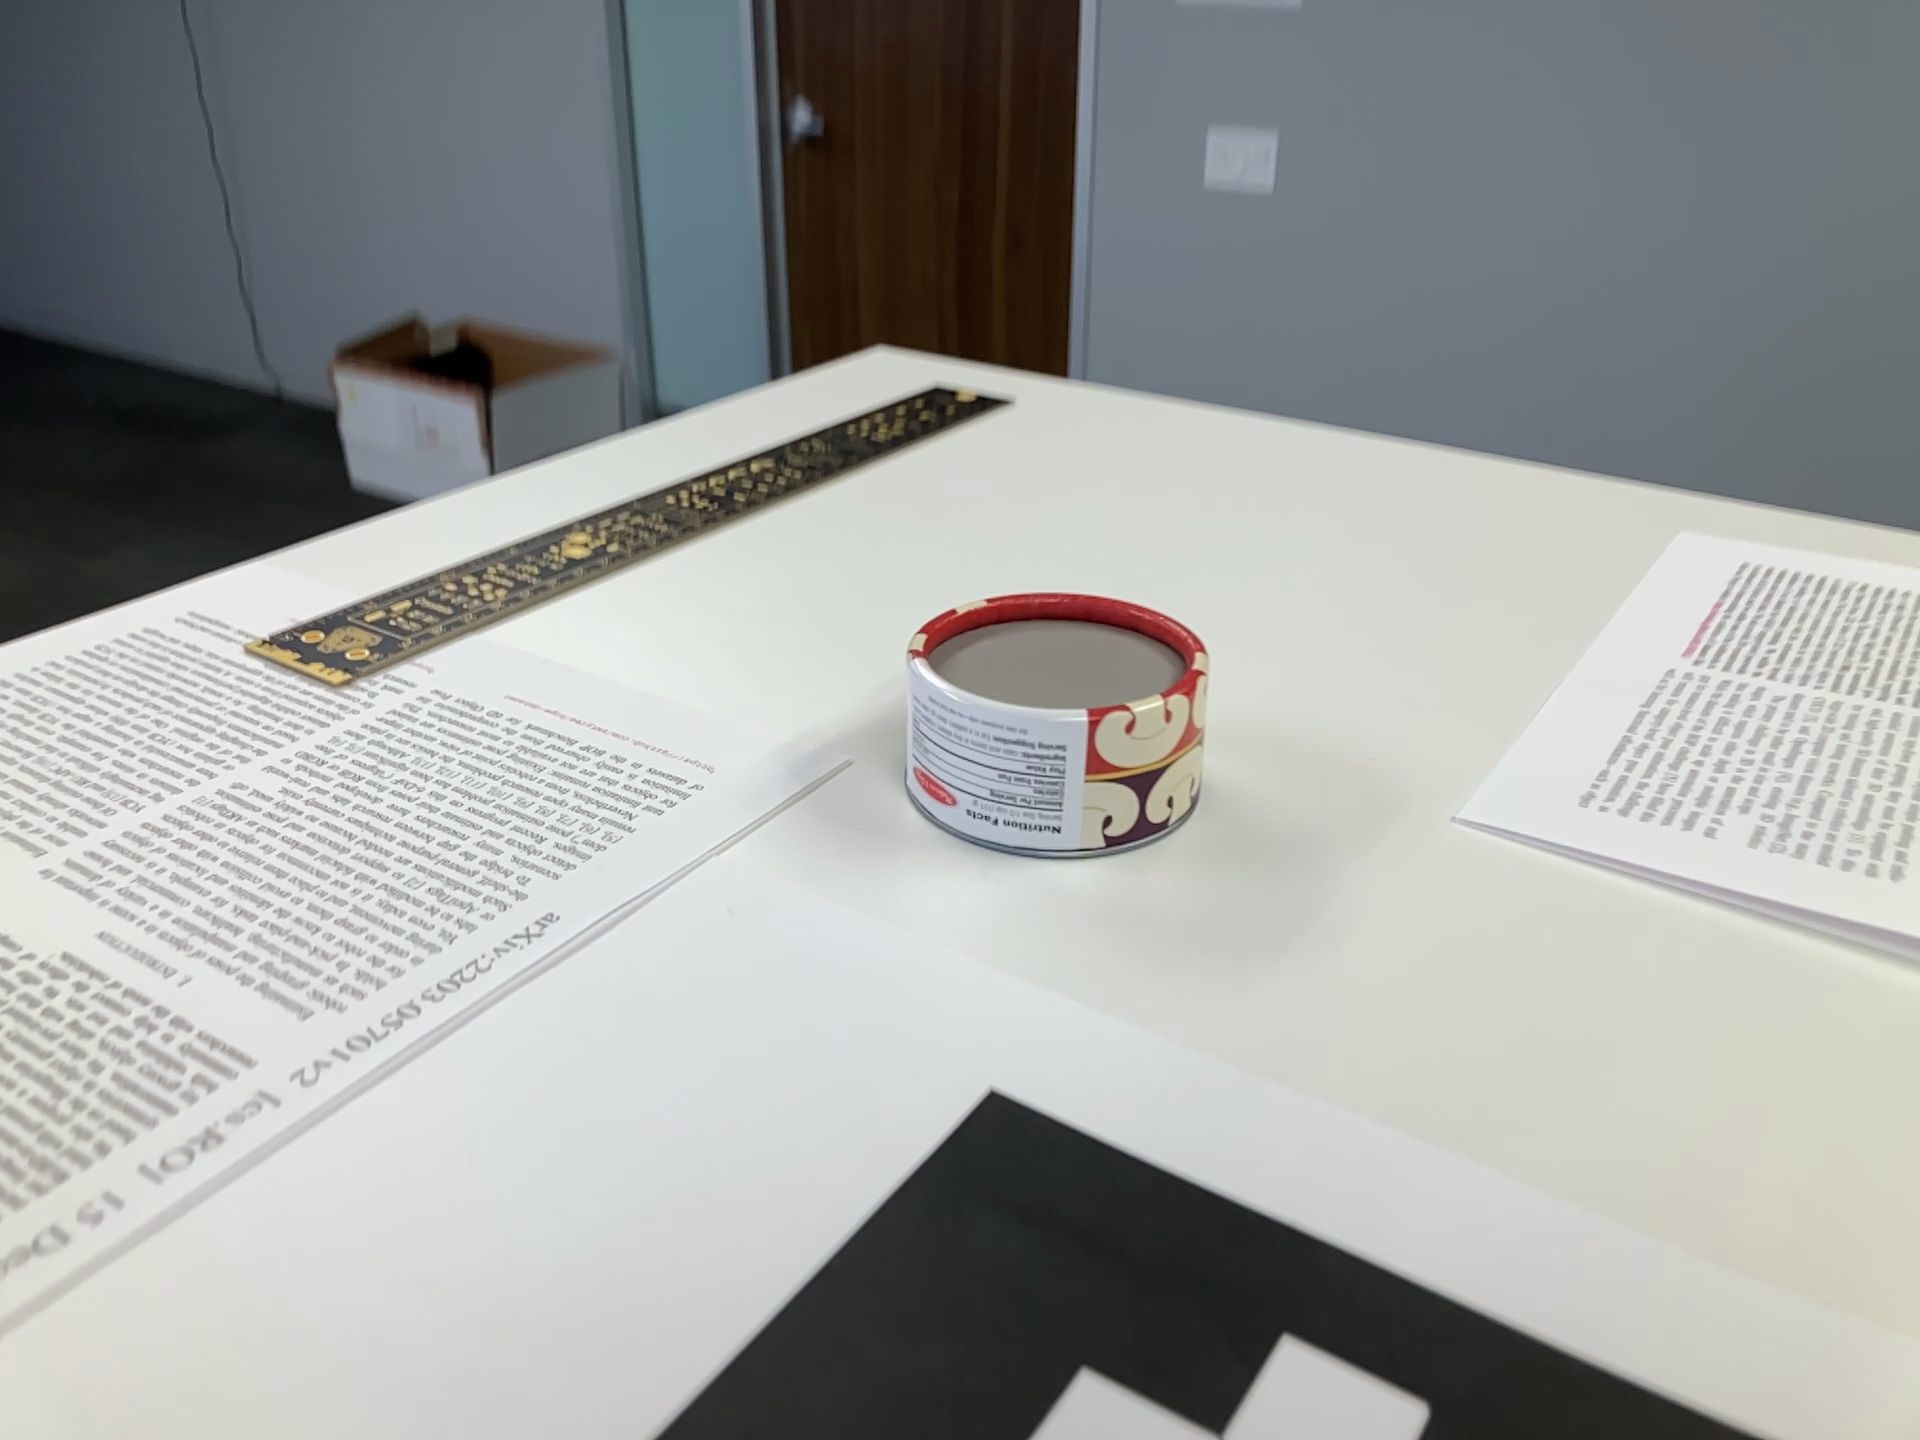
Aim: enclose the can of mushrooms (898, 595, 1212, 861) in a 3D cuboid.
[{"bbox_3d":[0.021,-0.001,0.342,0.071,0.033,0.071,0,26,0],"label":"can of mushrooms"}]
